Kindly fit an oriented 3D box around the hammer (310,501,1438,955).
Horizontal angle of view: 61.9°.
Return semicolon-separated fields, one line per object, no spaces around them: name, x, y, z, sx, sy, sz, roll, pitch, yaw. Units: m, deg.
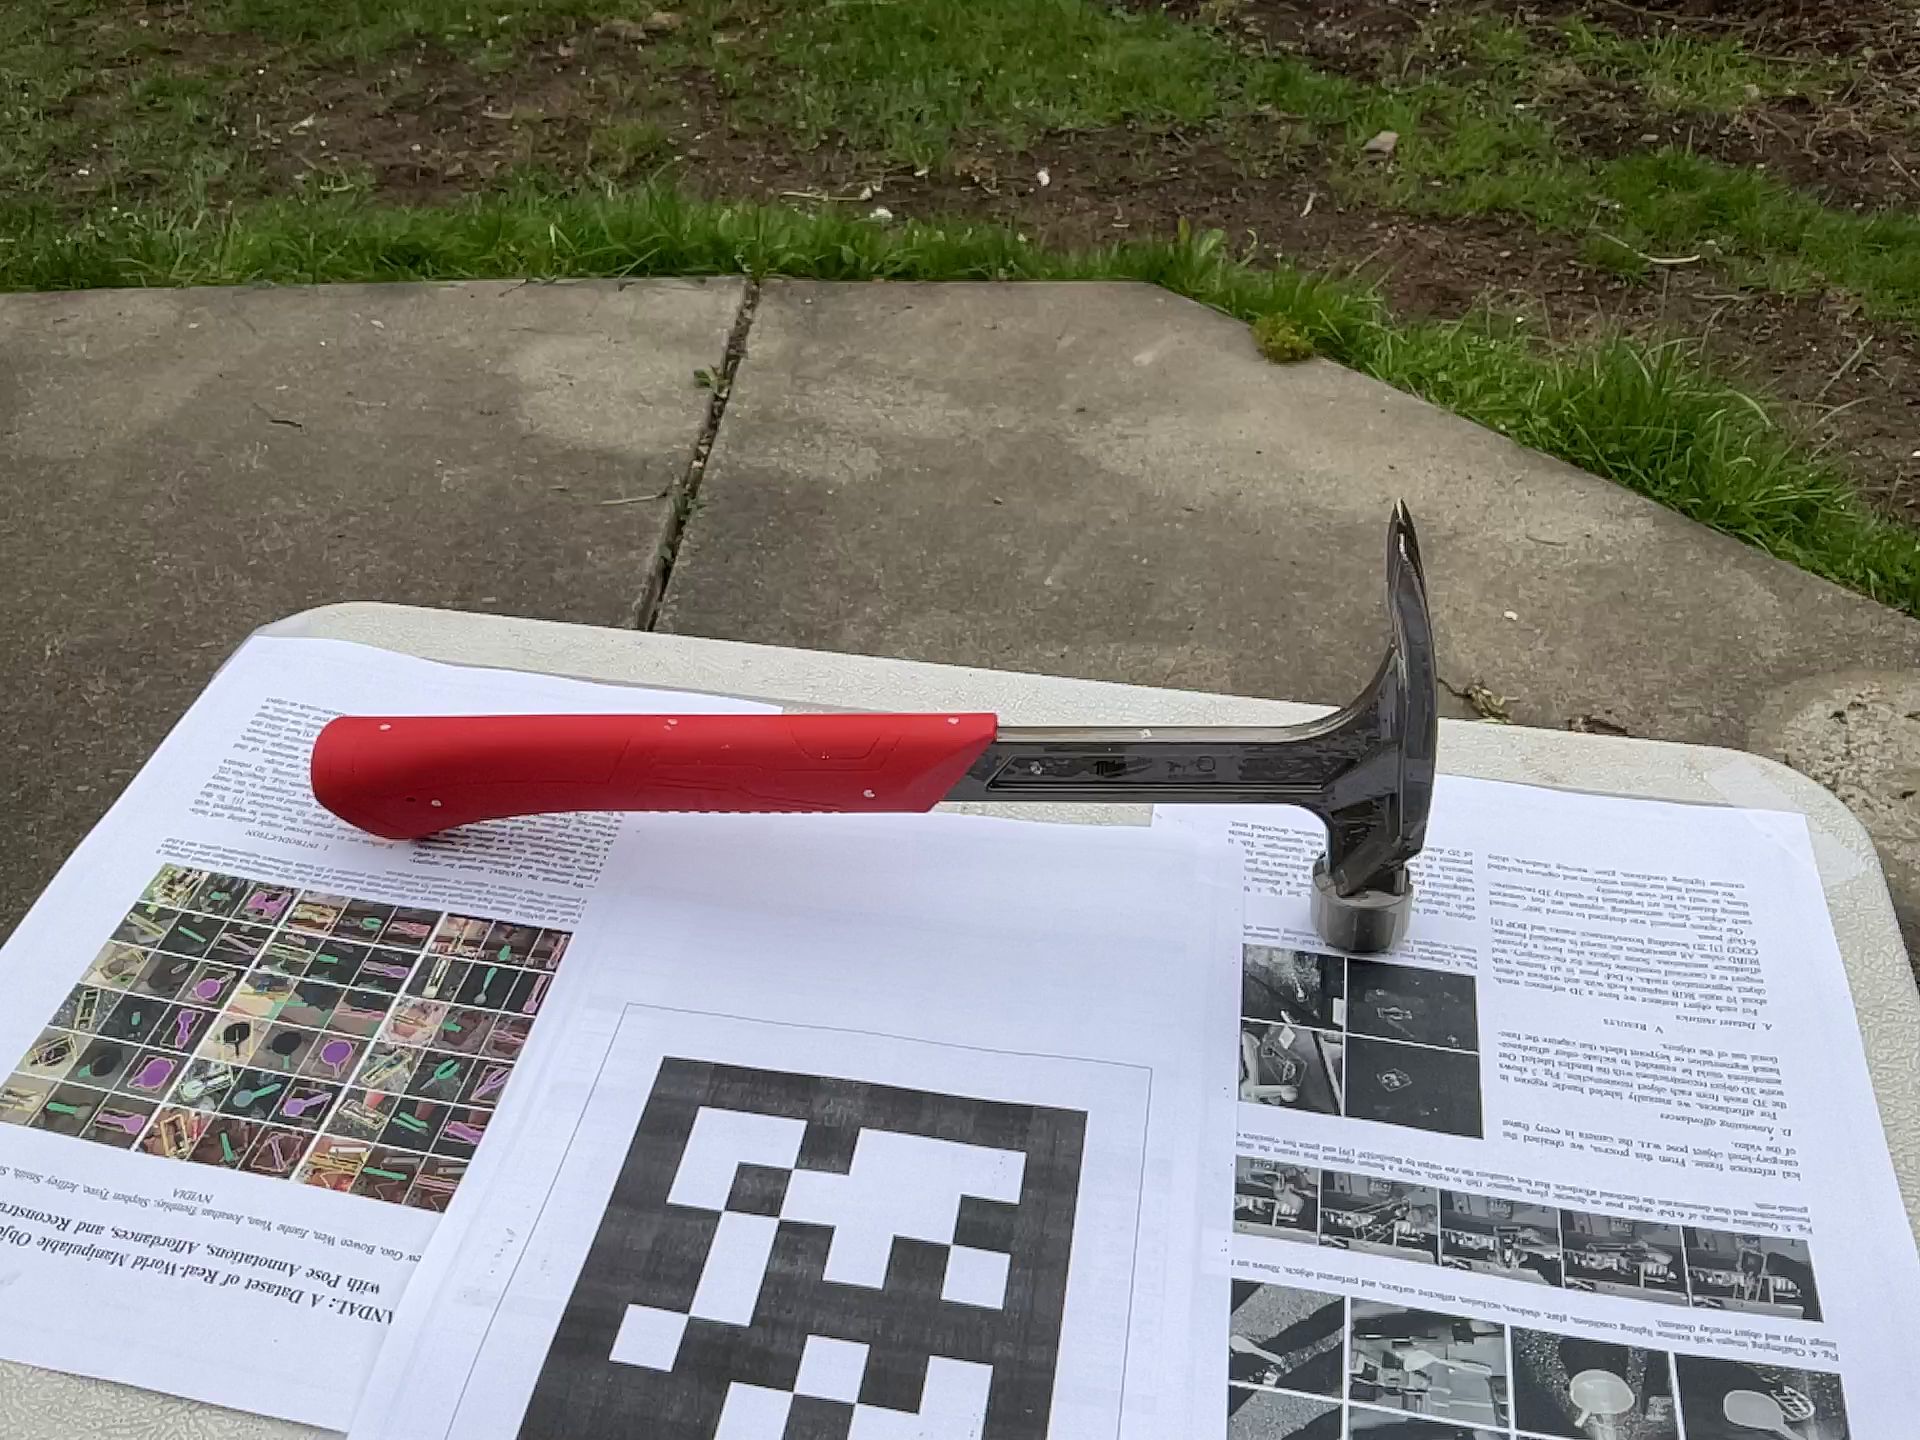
hammer;-0.037;0.007;0.505;0.359;0.149;0.037;0;37;11
